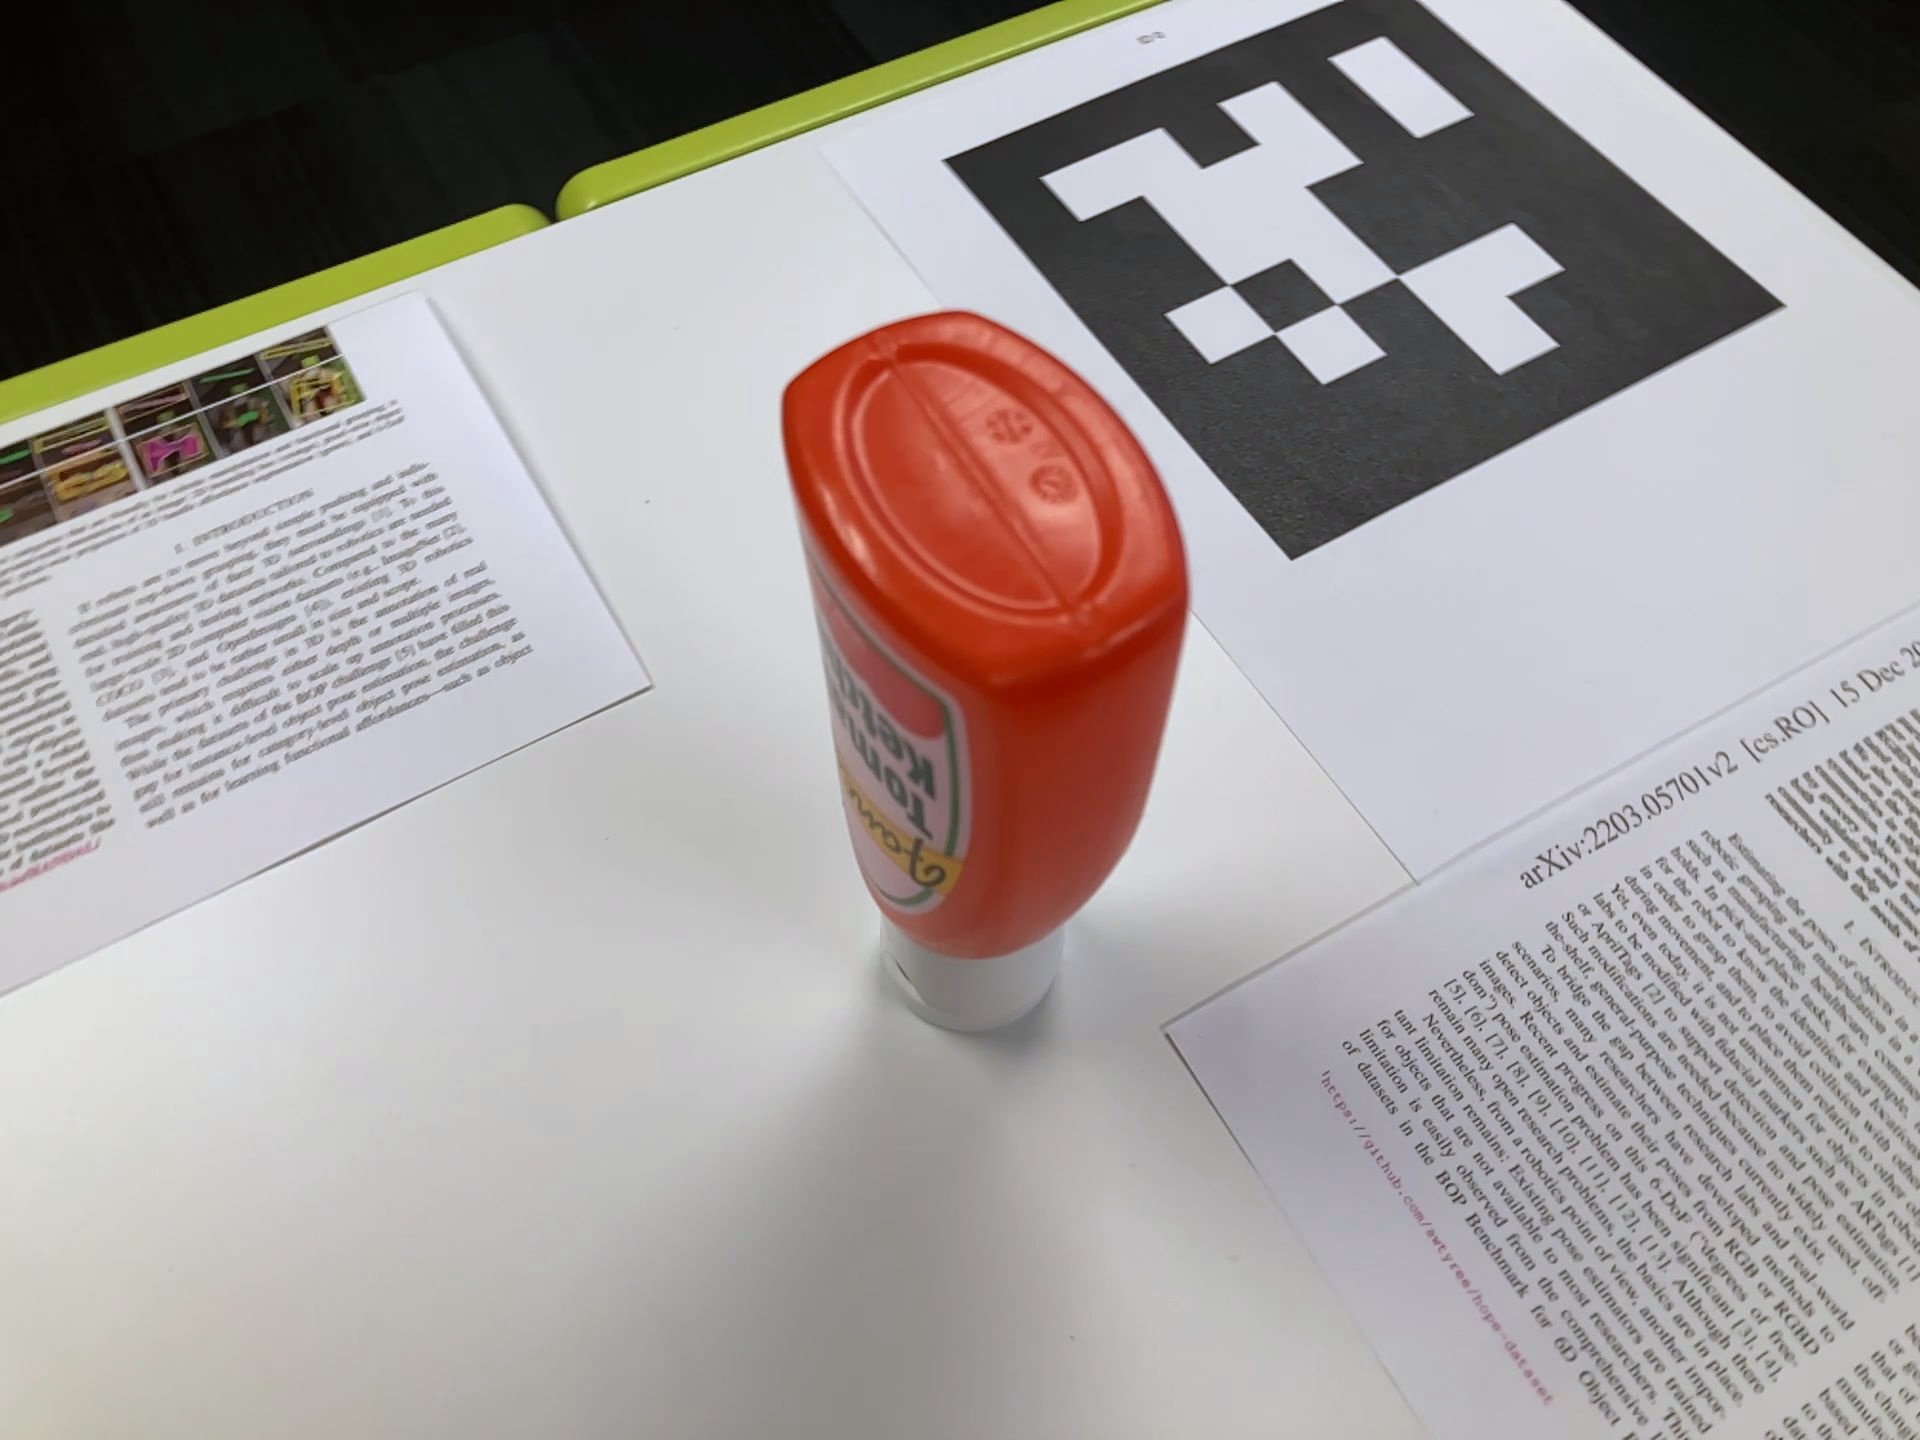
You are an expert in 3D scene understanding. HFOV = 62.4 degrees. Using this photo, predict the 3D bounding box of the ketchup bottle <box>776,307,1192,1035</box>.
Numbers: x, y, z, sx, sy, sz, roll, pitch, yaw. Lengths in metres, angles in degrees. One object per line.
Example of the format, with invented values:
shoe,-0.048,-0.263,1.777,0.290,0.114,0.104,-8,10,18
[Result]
ketchup bottle,0.003,0.008,0.257,0.043,0.149,0.065,-26,62,-15
